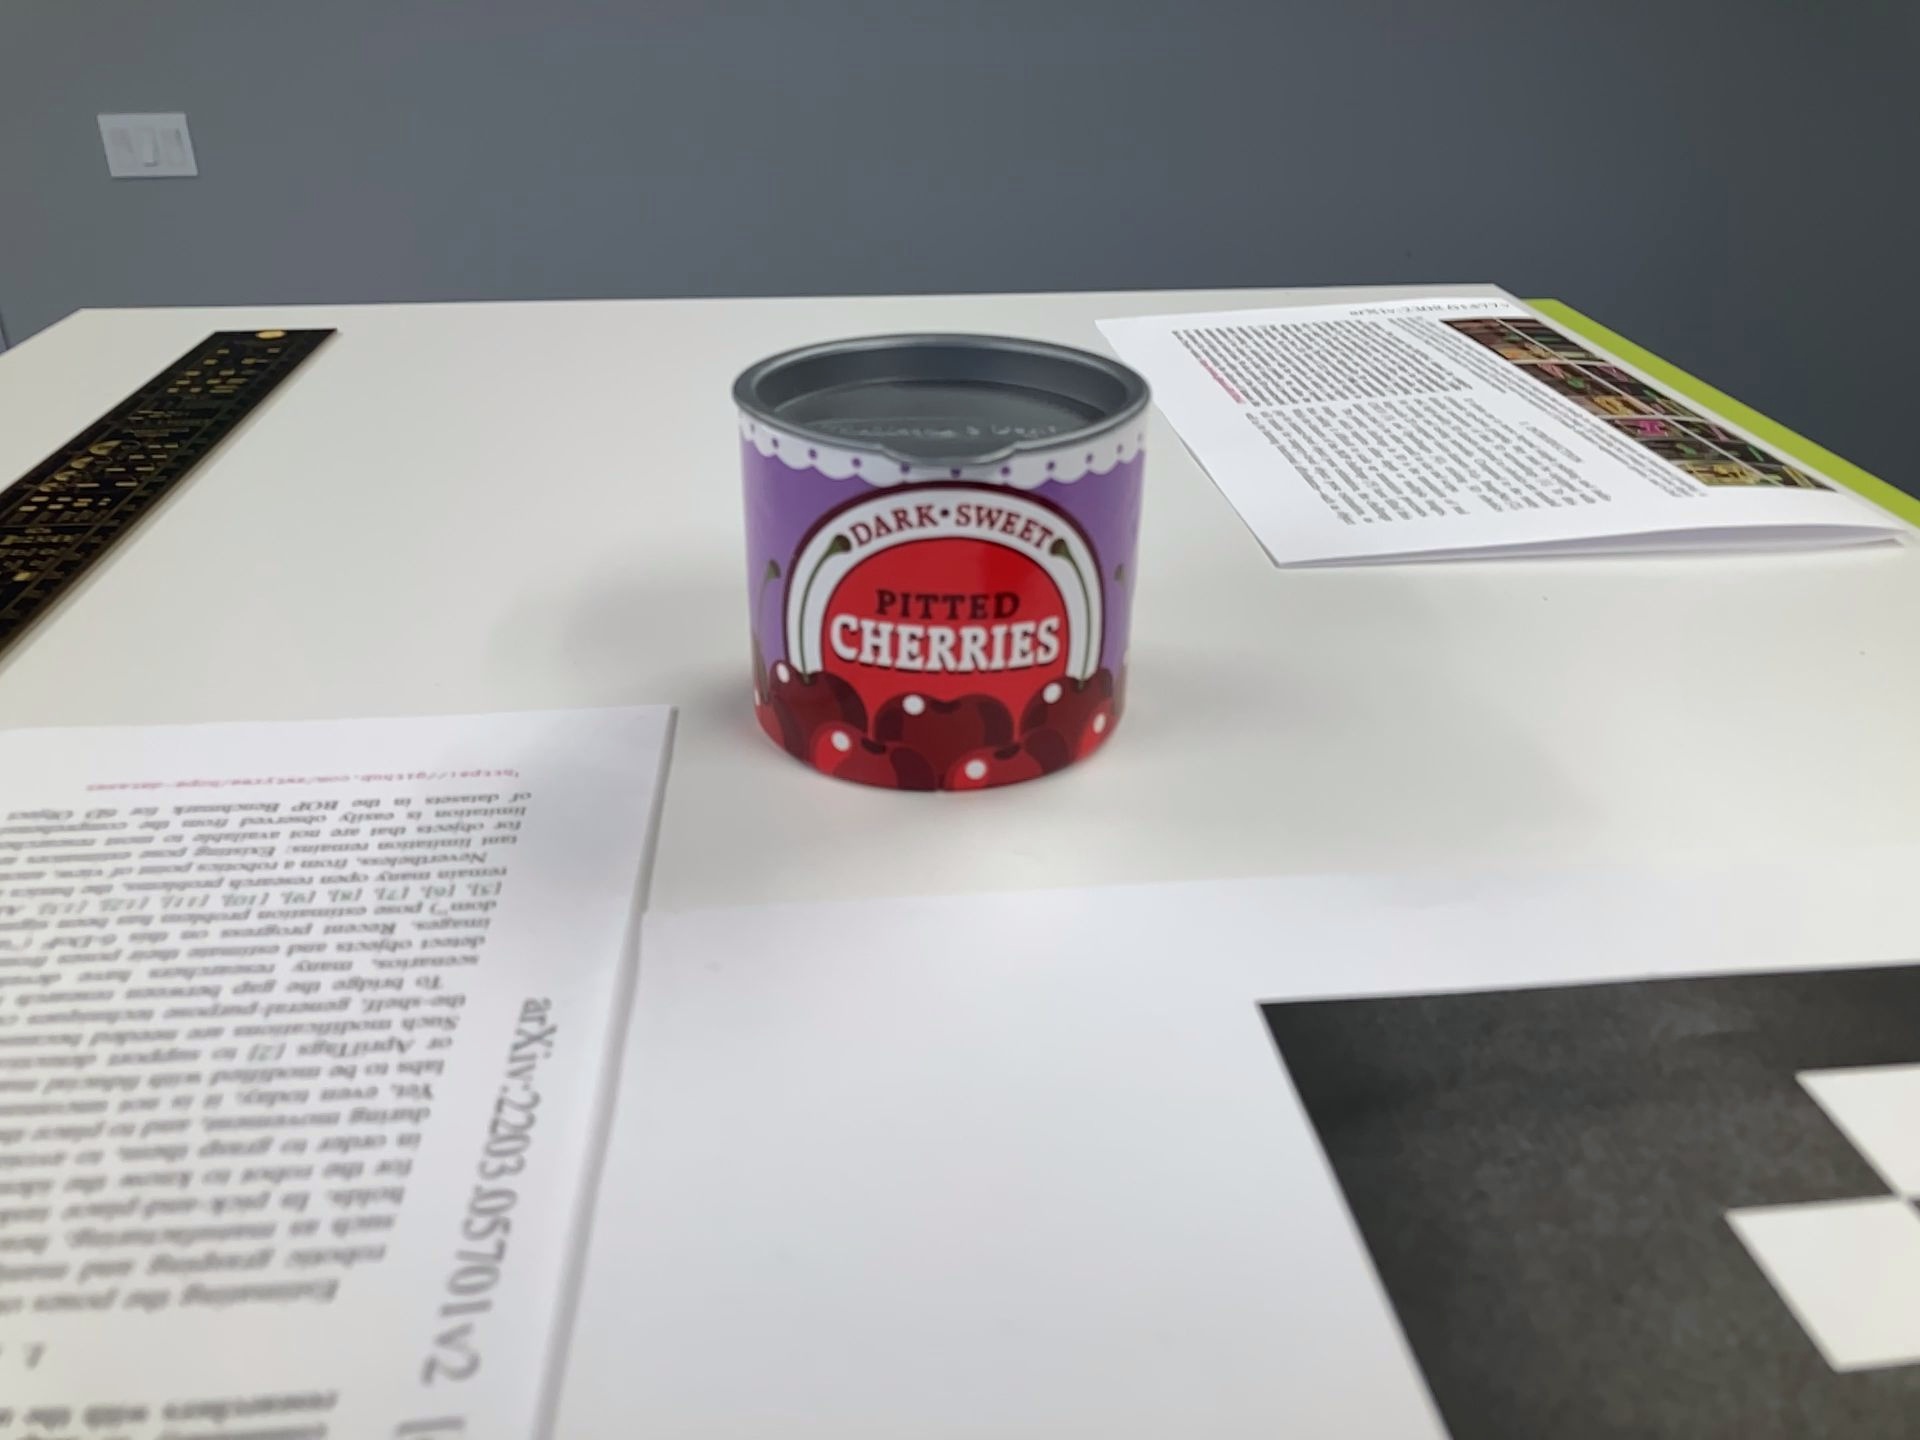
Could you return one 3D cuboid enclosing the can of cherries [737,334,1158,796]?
[{"bbox_3d":[-0.002,-0.027,0.261,0.071,0.058,0.071,0,27,0],"label":"can of cherries"}]
